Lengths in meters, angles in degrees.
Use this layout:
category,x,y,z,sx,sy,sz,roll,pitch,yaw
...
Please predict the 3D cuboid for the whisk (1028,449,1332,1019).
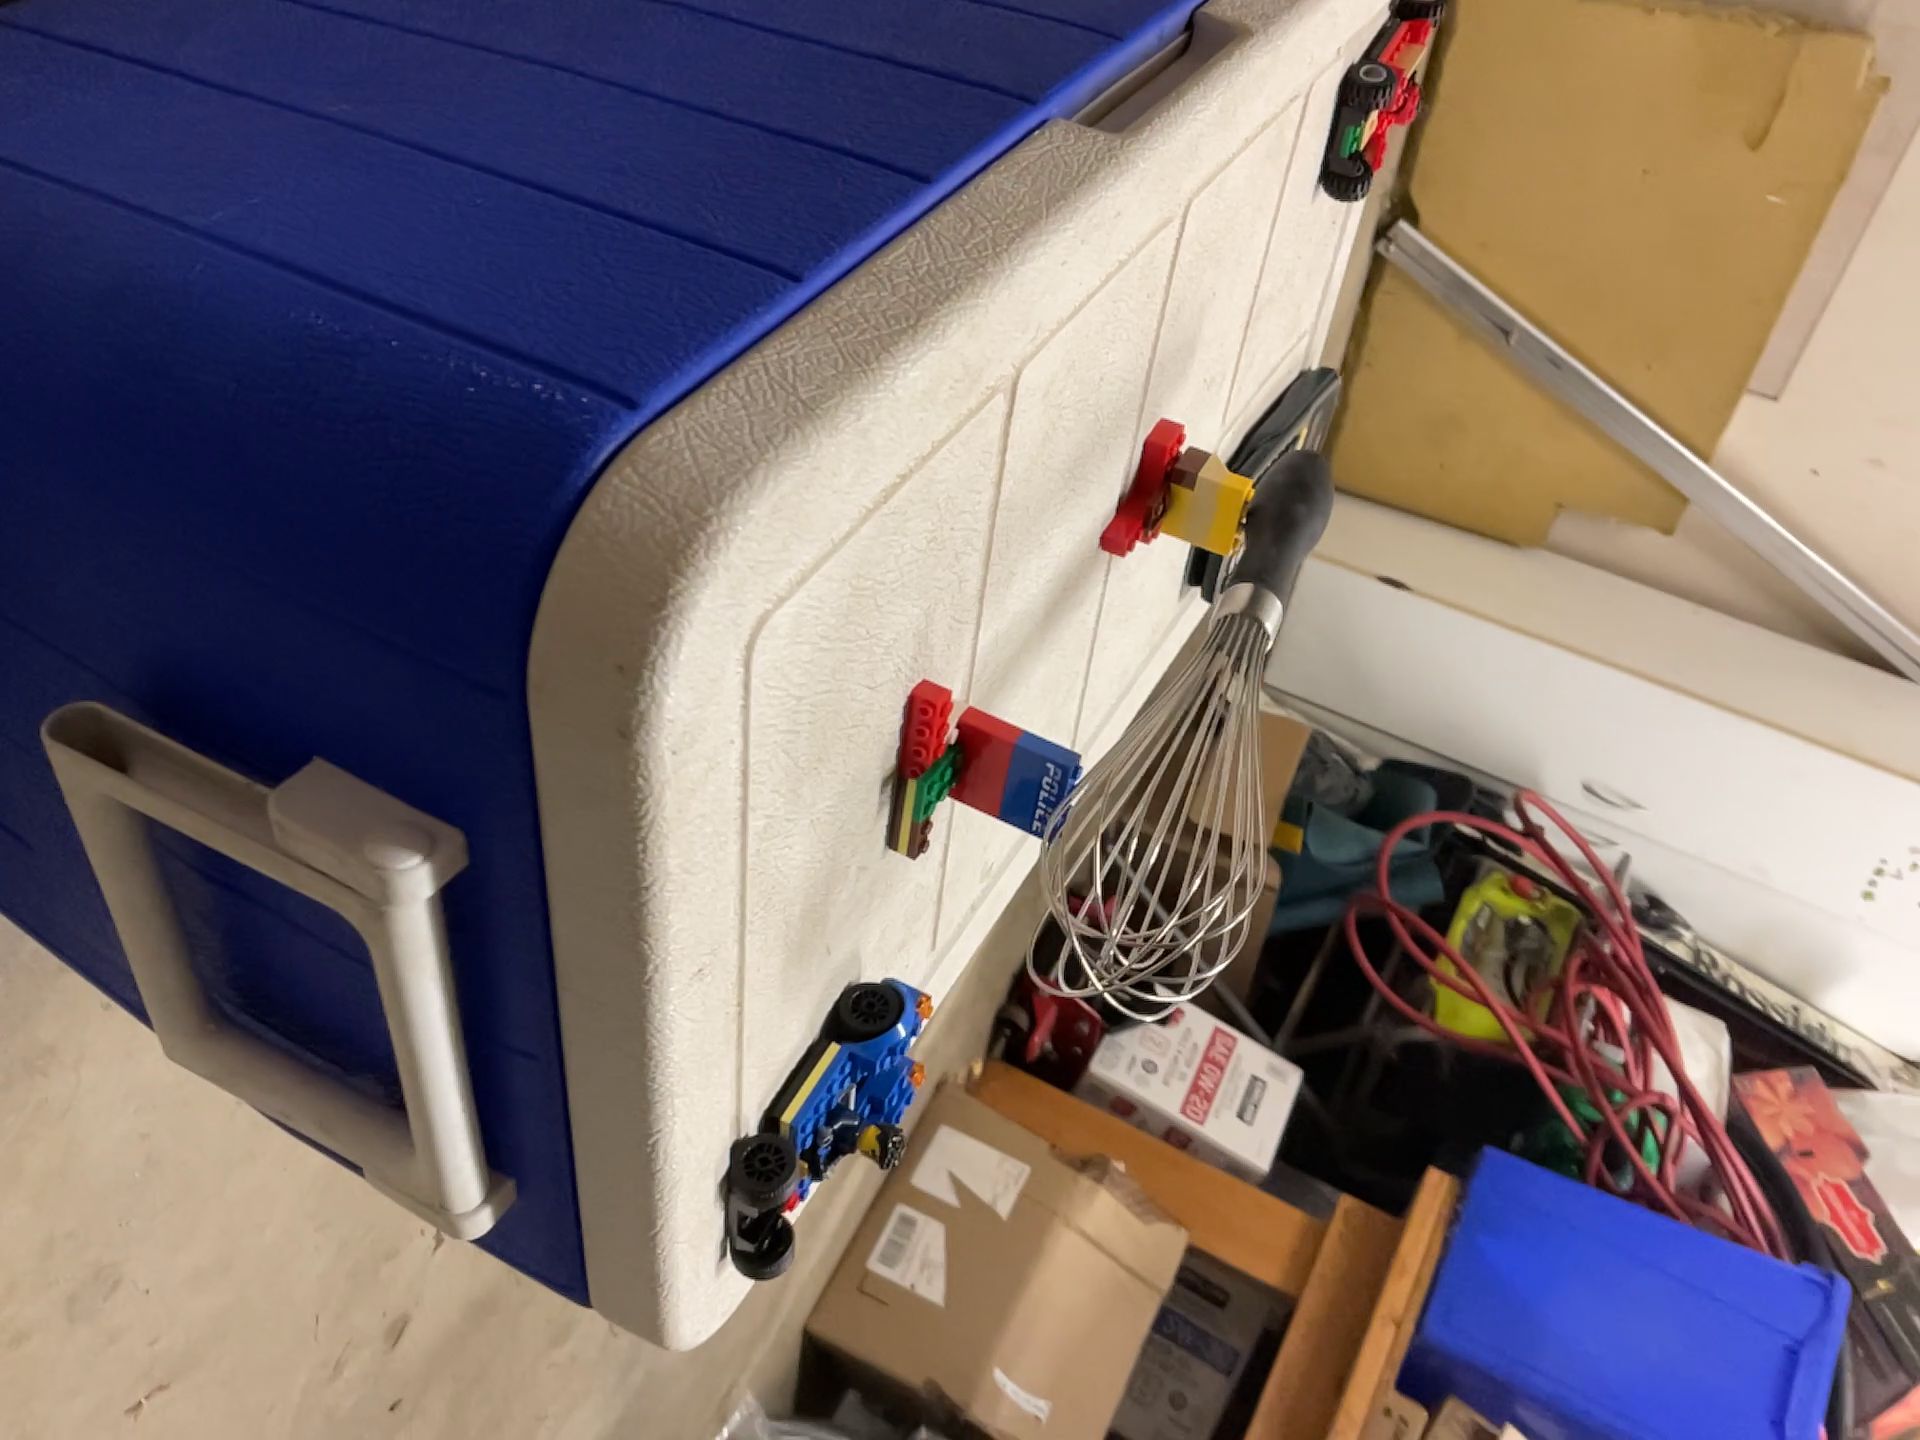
category,x,y,z,sx,sy,sz,roll,pitch,yaw
whisk,0.088,-0.014,0.531,0.285,0.070,0.070,-60,159,-44
